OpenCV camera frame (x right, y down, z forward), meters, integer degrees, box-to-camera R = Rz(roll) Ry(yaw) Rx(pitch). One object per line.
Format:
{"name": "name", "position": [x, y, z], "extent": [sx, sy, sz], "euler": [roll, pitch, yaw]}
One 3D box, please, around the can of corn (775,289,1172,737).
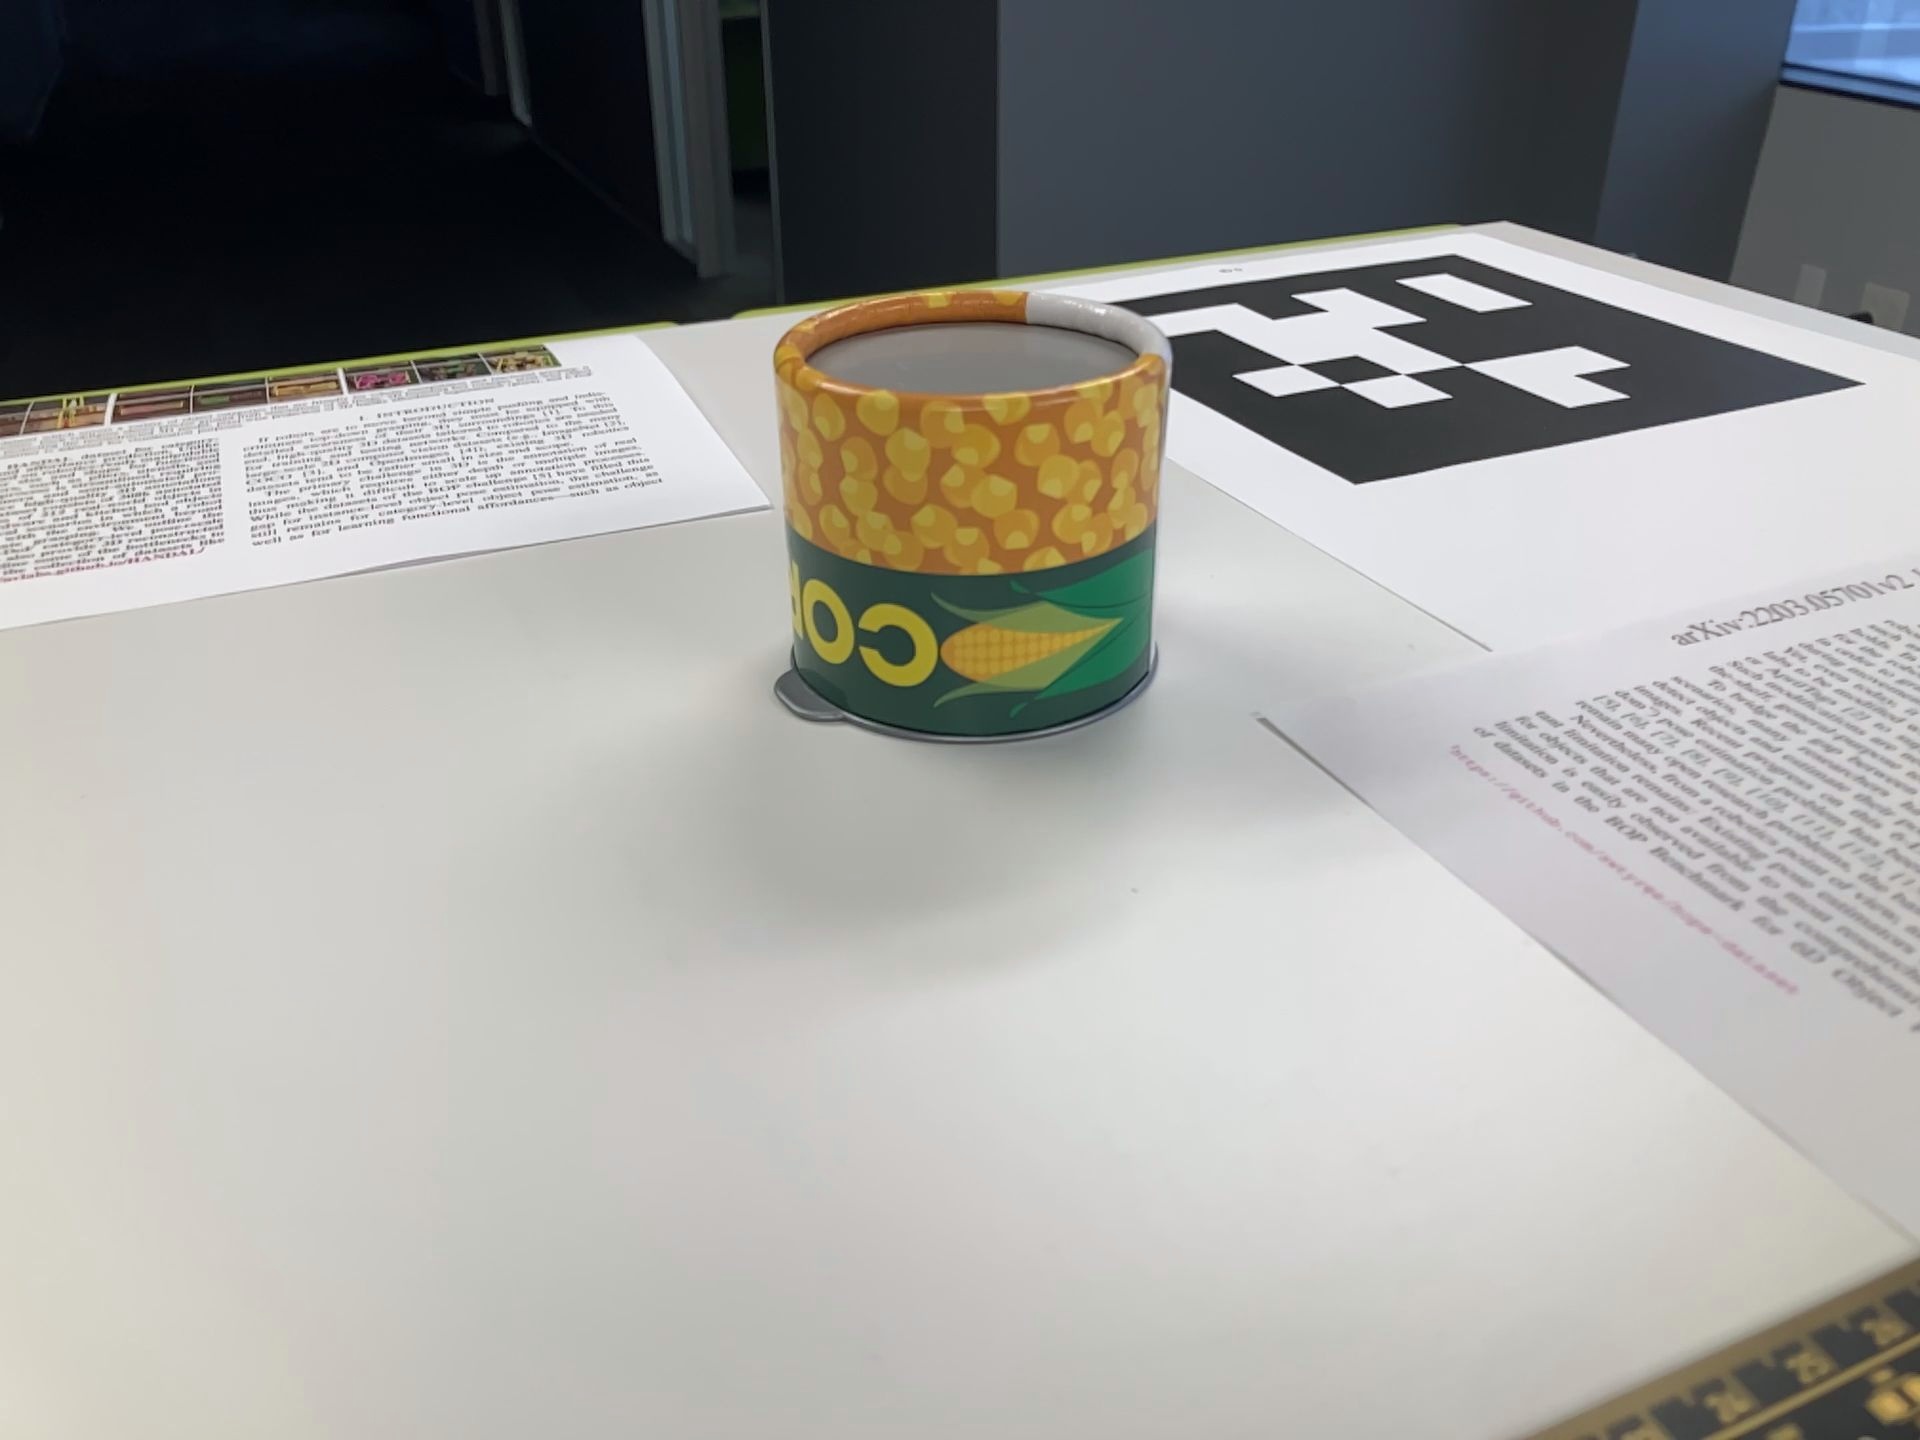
{"name": "can of corn", "position": [0.000, -0.037, 0.273], "extent": [0.071, 0.058, 0.071], "euler": [-1, 29, 0]}
